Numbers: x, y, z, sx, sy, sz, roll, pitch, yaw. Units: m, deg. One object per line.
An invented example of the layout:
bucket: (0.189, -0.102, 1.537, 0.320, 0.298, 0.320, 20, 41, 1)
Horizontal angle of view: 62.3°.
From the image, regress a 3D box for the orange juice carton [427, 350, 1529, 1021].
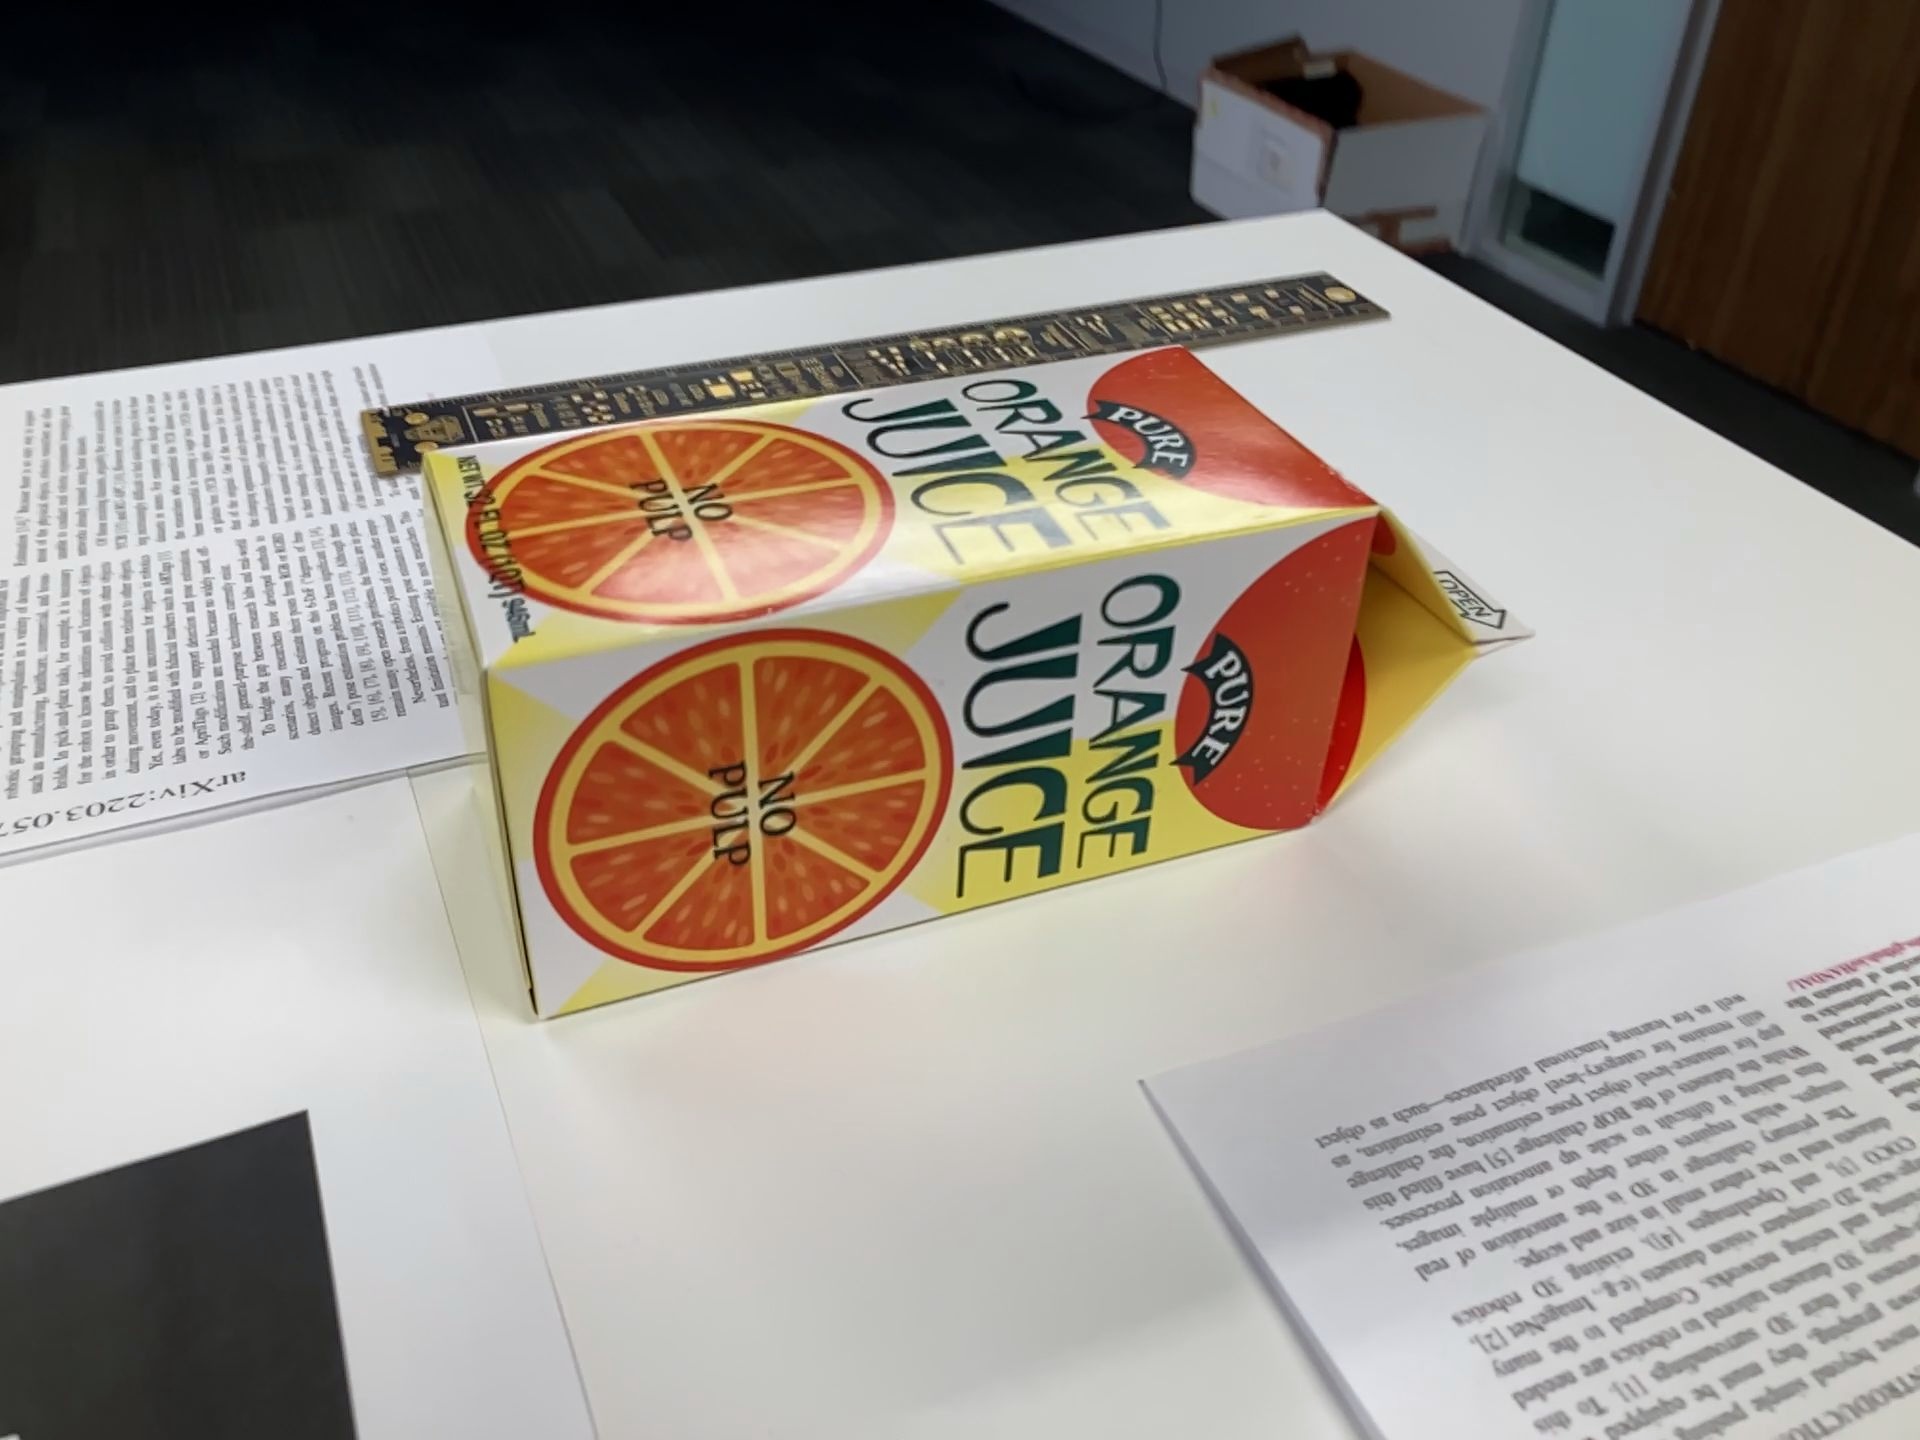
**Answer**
orange juice carton: (0.007, -0.016, 0.299, 0.192, 0.073, 0.072, -12, 38, -18)
